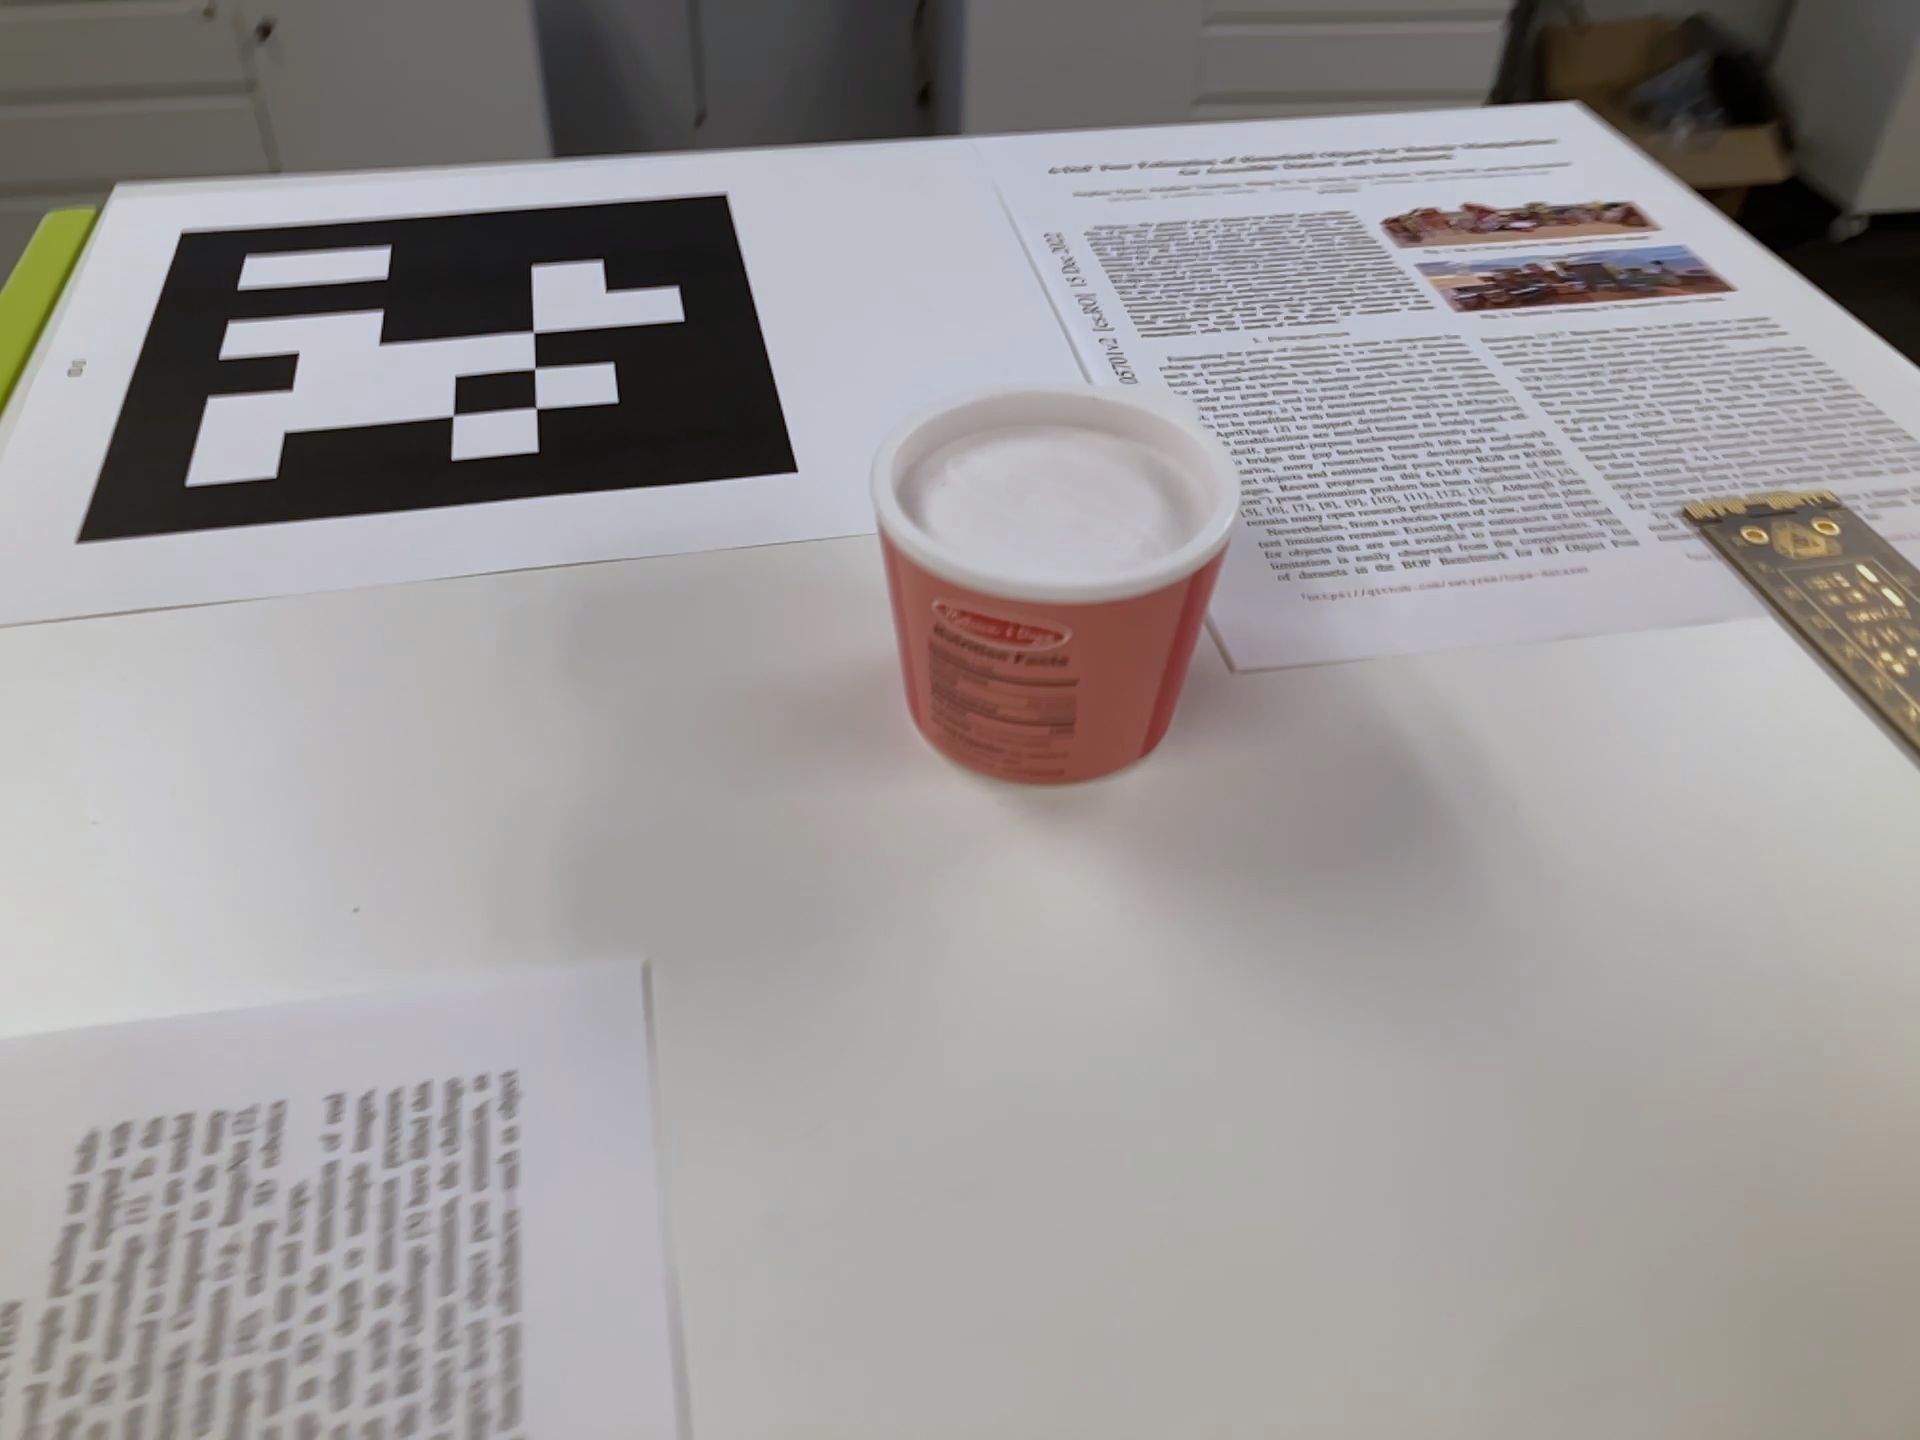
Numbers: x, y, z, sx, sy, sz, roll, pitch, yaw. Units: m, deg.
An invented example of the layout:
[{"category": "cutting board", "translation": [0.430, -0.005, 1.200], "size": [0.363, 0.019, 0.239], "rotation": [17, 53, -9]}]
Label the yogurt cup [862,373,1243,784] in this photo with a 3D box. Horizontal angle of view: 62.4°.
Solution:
[{"category": "yogurt cup", "translation": [0.016, -0.025, 0.300], "size": [0.072, 0.054, 0.072], "rotation": [0, 42, 0]}]
